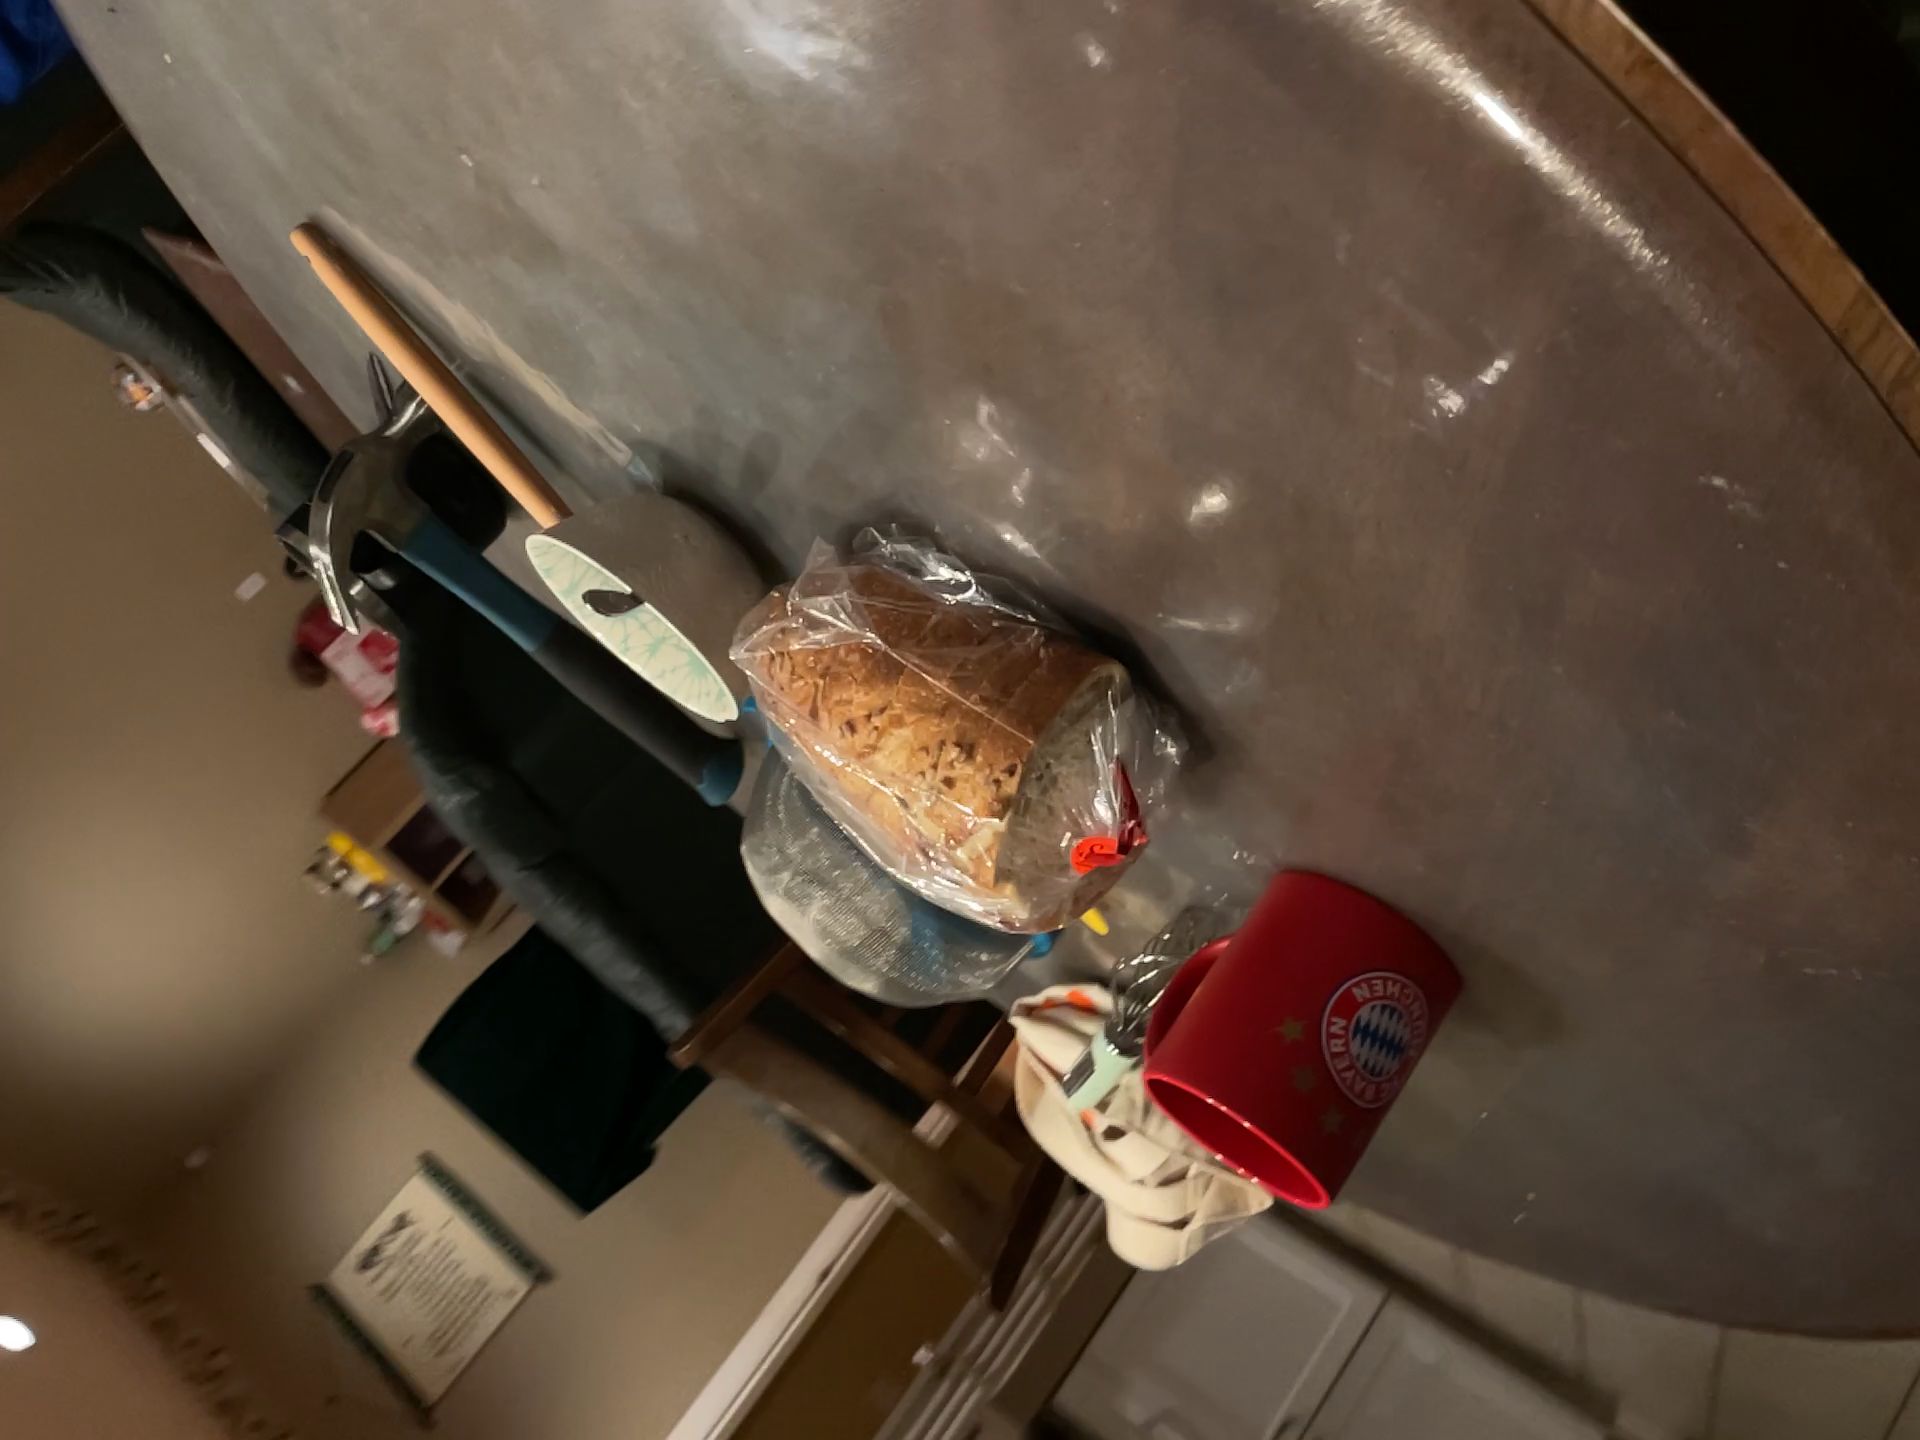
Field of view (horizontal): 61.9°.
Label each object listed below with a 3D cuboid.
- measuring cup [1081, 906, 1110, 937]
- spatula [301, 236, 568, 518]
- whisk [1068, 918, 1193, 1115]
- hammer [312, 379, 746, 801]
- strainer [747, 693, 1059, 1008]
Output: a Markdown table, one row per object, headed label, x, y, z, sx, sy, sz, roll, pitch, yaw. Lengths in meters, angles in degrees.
| label | x | y | z | sx | sy | sz | roll | pitch | yaw |
| --- | --- | --- | --- | --- | --- | --- | --- | --- | --- |
| measuring cup | 0.012 | 0.064 | 0.801 | 0.156 | 0.029 | 0.062 | 43 | 162 | -8 |
| spatula | -0.206 | -0.120 | 0.812 | 0.317 | 0.044 | 0.082 | 49 | 161 | -16 |
| whisk | 0.086 | 0.161 | 0.812 | 0.059 | 0.058 | 0.246 | 9 | 152 | -4 |
| hammer | -0.234 | -0.047 | 0.937 | 0.033 | 0.128 | 0.330 | 25 | 166 | 45 |
| strainer | -0.049 | 0.130 | 0.979 | 0.211 | 0.095 | 0.340 | 33 | 157 | 20 |
